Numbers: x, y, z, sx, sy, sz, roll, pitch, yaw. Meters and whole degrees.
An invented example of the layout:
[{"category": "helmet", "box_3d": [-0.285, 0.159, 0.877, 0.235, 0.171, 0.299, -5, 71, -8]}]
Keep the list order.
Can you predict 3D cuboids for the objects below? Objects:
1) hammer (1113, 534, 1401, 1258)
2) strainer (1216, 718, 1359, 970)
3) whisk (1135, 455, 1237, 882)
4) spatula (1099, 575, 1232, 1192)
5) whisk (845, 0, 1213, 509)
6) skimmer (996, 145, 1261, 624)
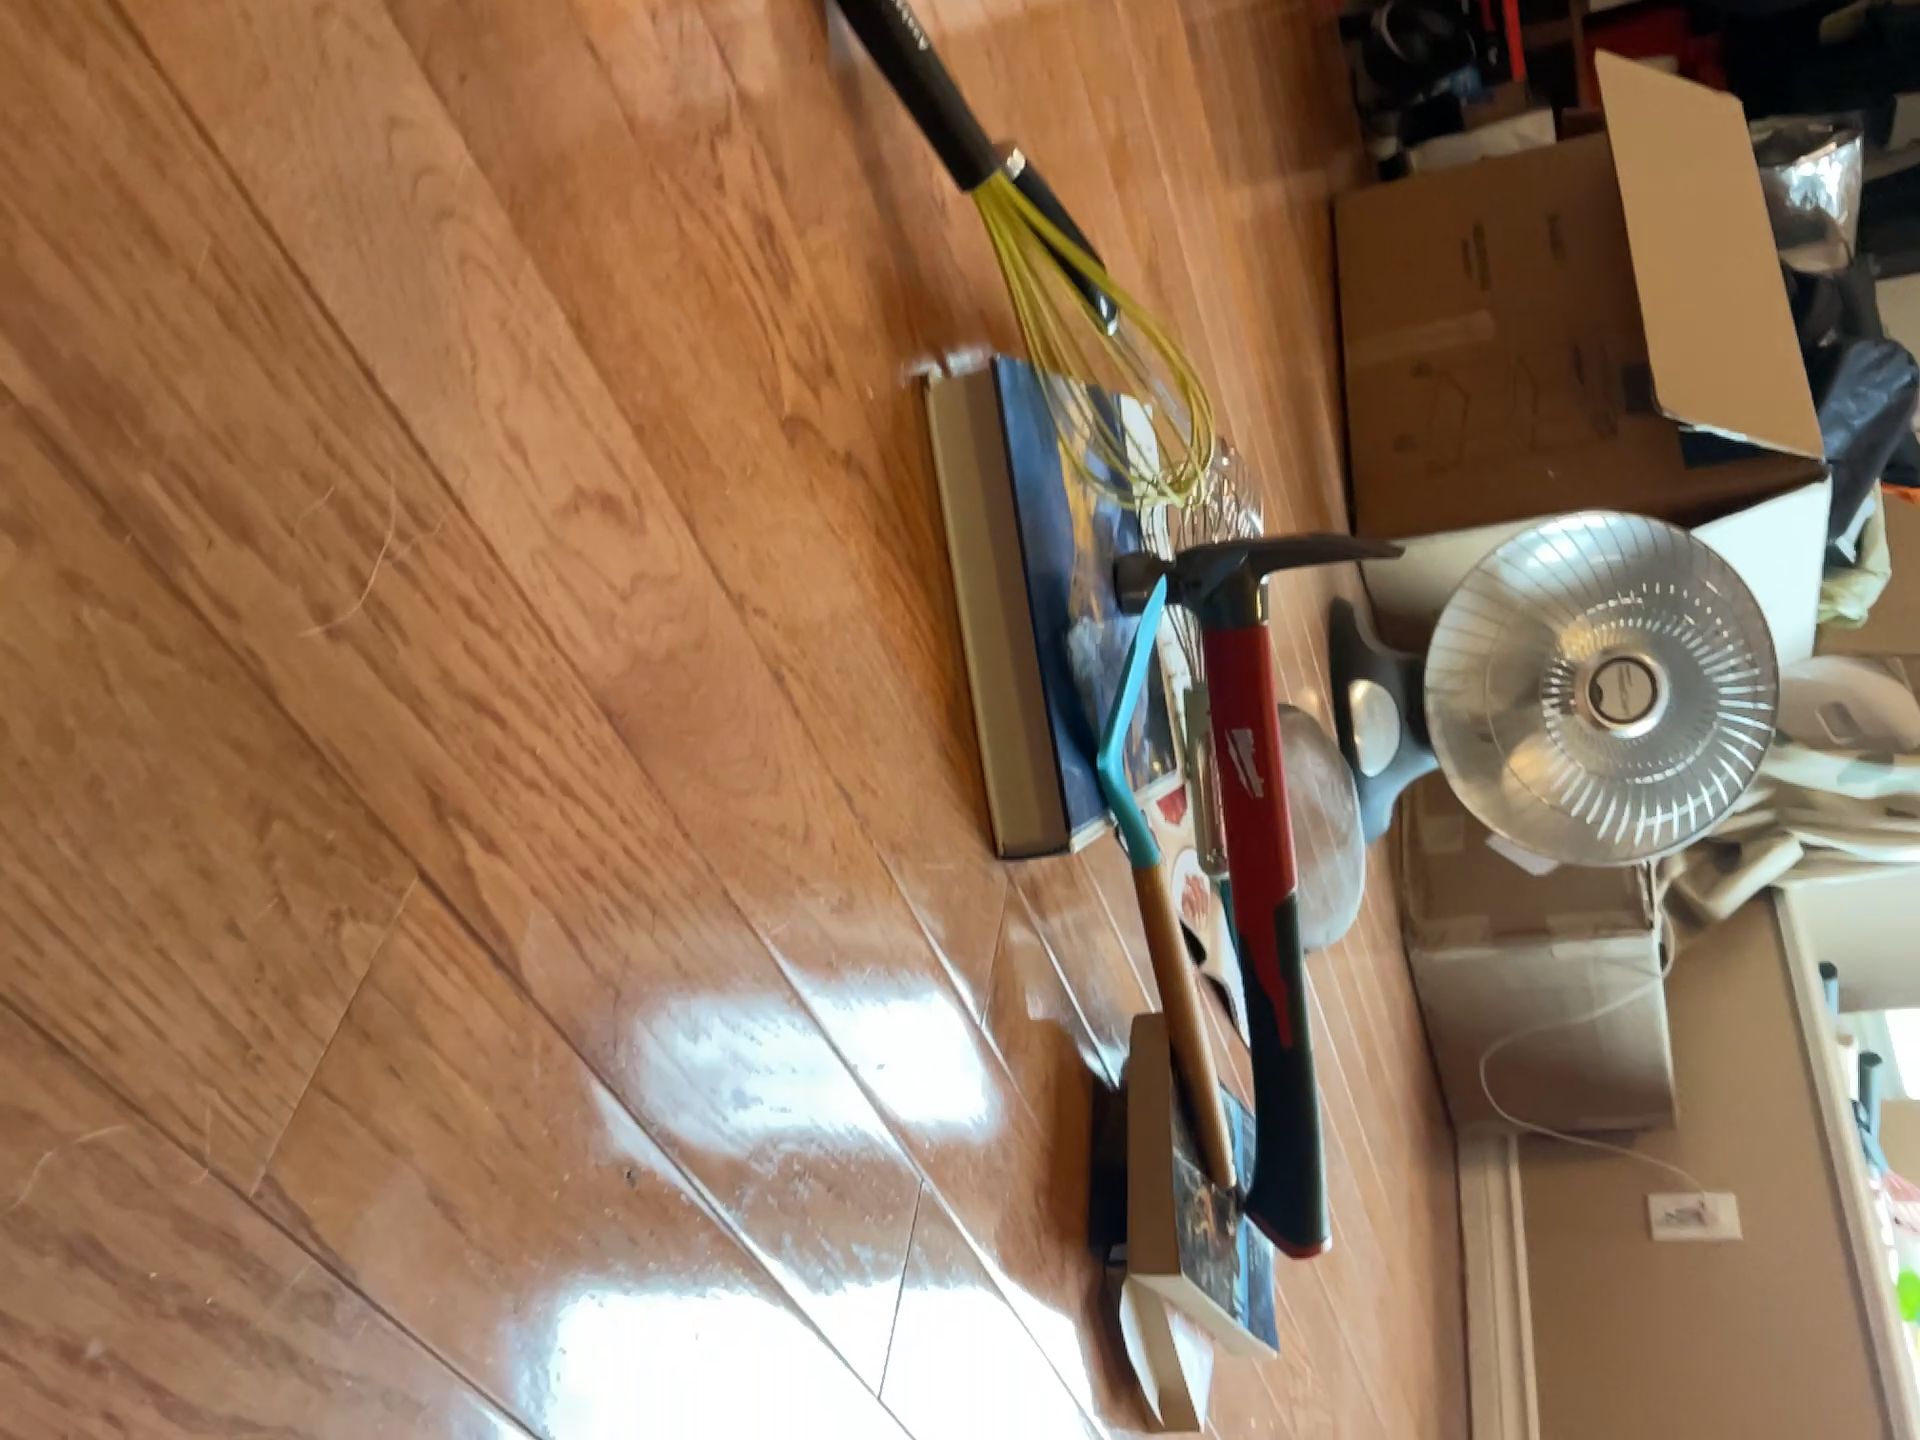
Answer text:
[{"category": "hammer", "box_3d": [0.174, 0.097, 0.835, 0.038, 0.143, 0.386, -28, 112, -65]}, {"category": "strainer", "box_3d": [0.224, 0.058, 1.099, 0.340, 0.095, 0.211, 55, 34, -63]}, {"category": "whisk", "box_3d": [0.136, -0.026, 0.900, 0.059, 0.058, 0.246, -140, -138, -74]}, {"category": "spatula", "box_3d": [0.105, 0.092, 0.765, 0.082, 0.044, 0.317, -55, 133, -63]}, {"category": "whisk", "box_3d": [0.024, -0.215, 0.701, 0.311, 0.067, 0.080, 53, 48, -27]}, {"category": "skimmer", "box_3d": [0.088, -0.187, 0.950, 0.363, 0.090, 0.128, 44, 44, -43]}]
